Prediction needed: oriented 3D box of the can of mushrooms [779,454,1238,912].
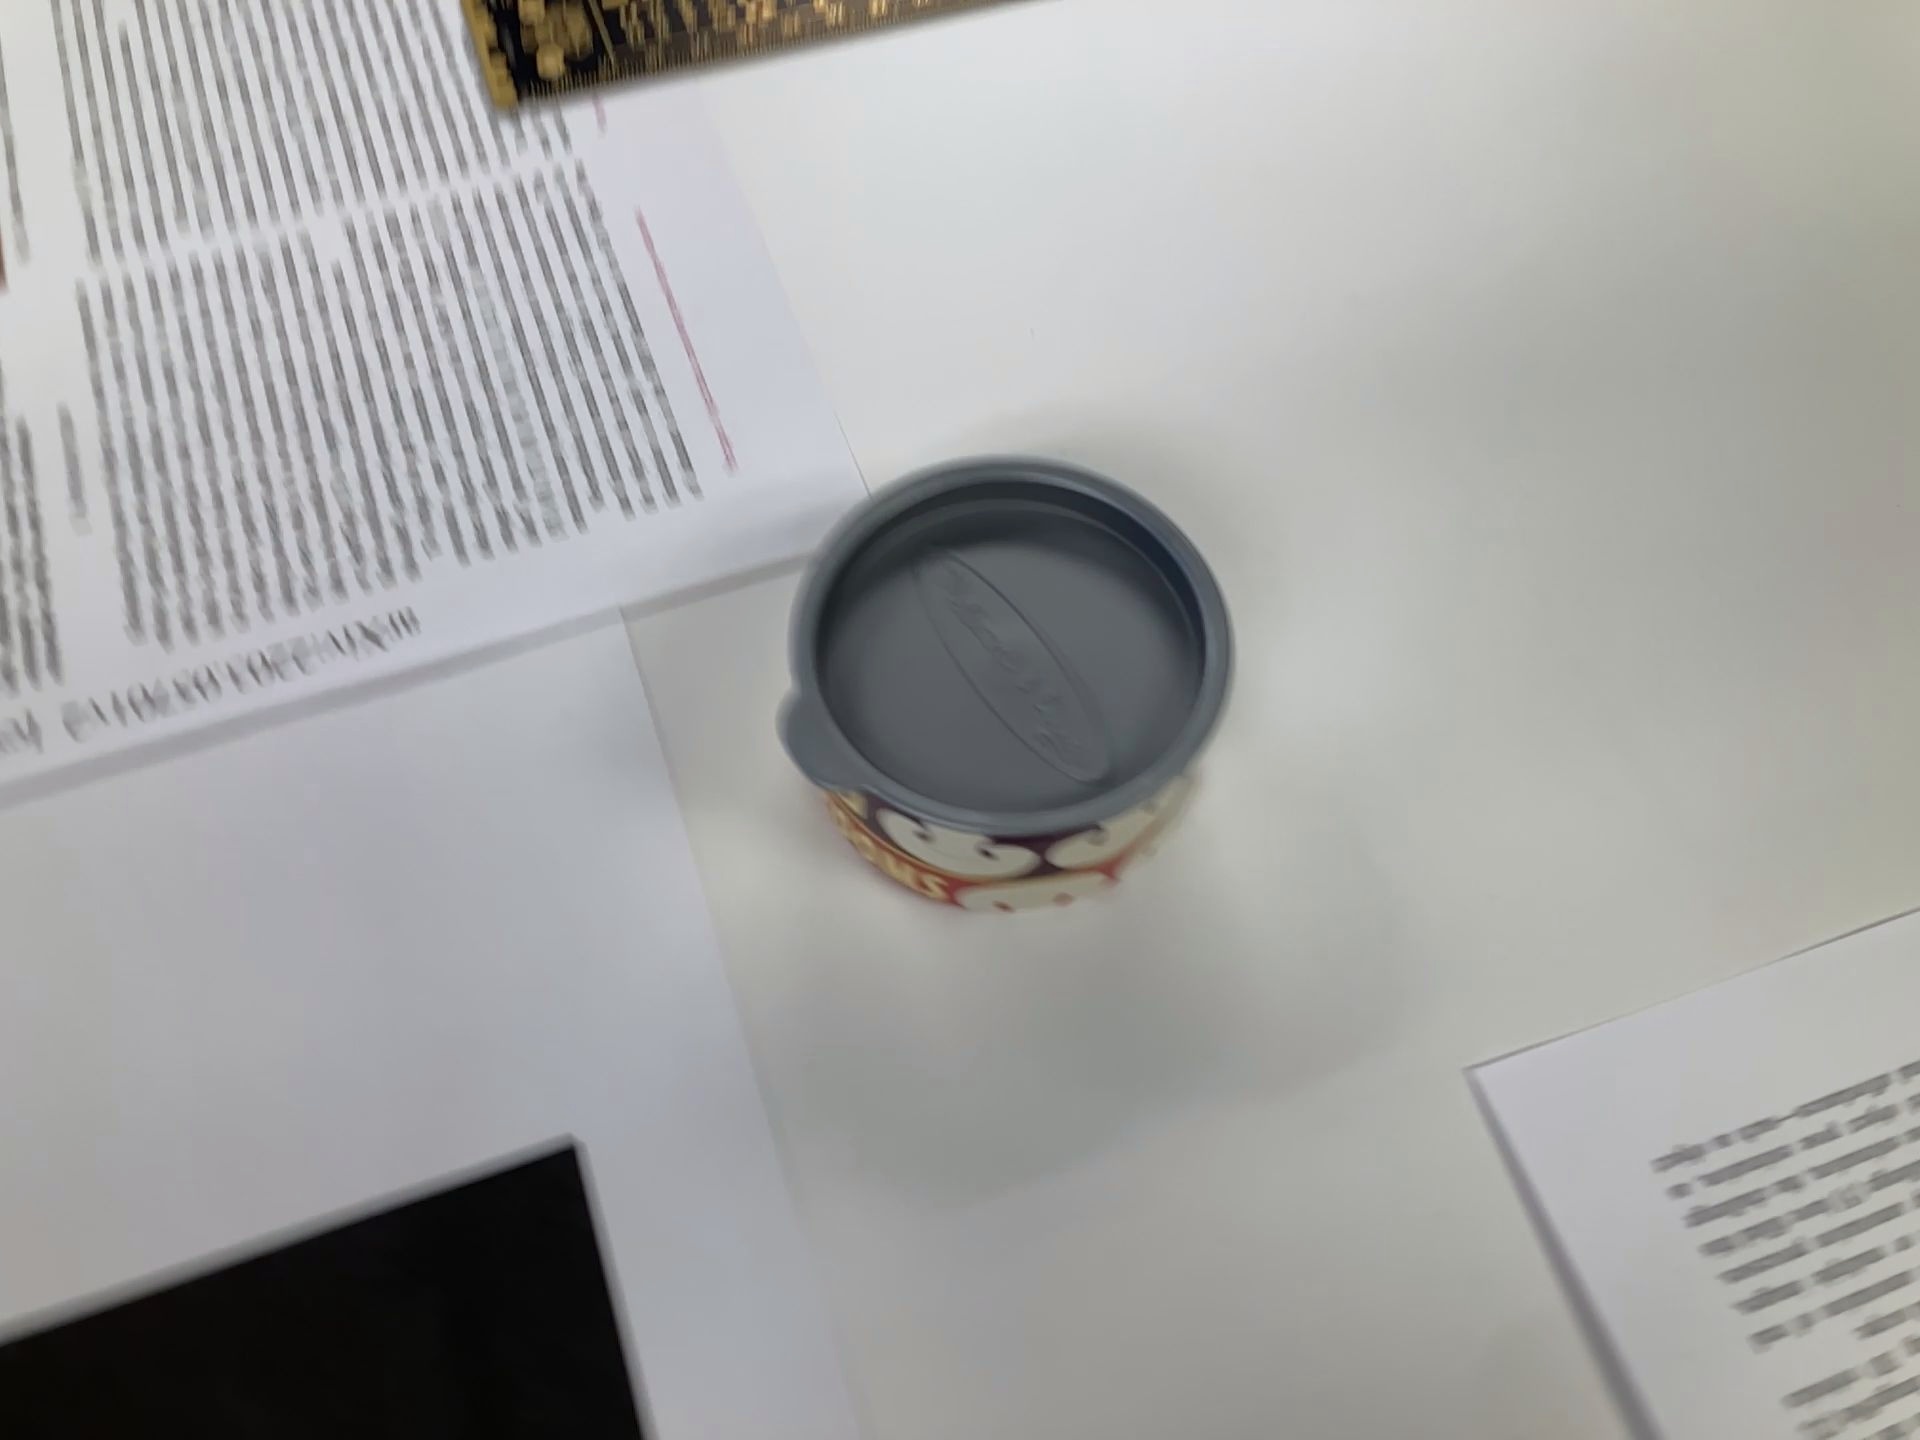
[{"bbox_3d":[0.006,-0.005,0.248,0.071,0.033,0.071,1,63,-1],"label":"can of mushrooms"}]
